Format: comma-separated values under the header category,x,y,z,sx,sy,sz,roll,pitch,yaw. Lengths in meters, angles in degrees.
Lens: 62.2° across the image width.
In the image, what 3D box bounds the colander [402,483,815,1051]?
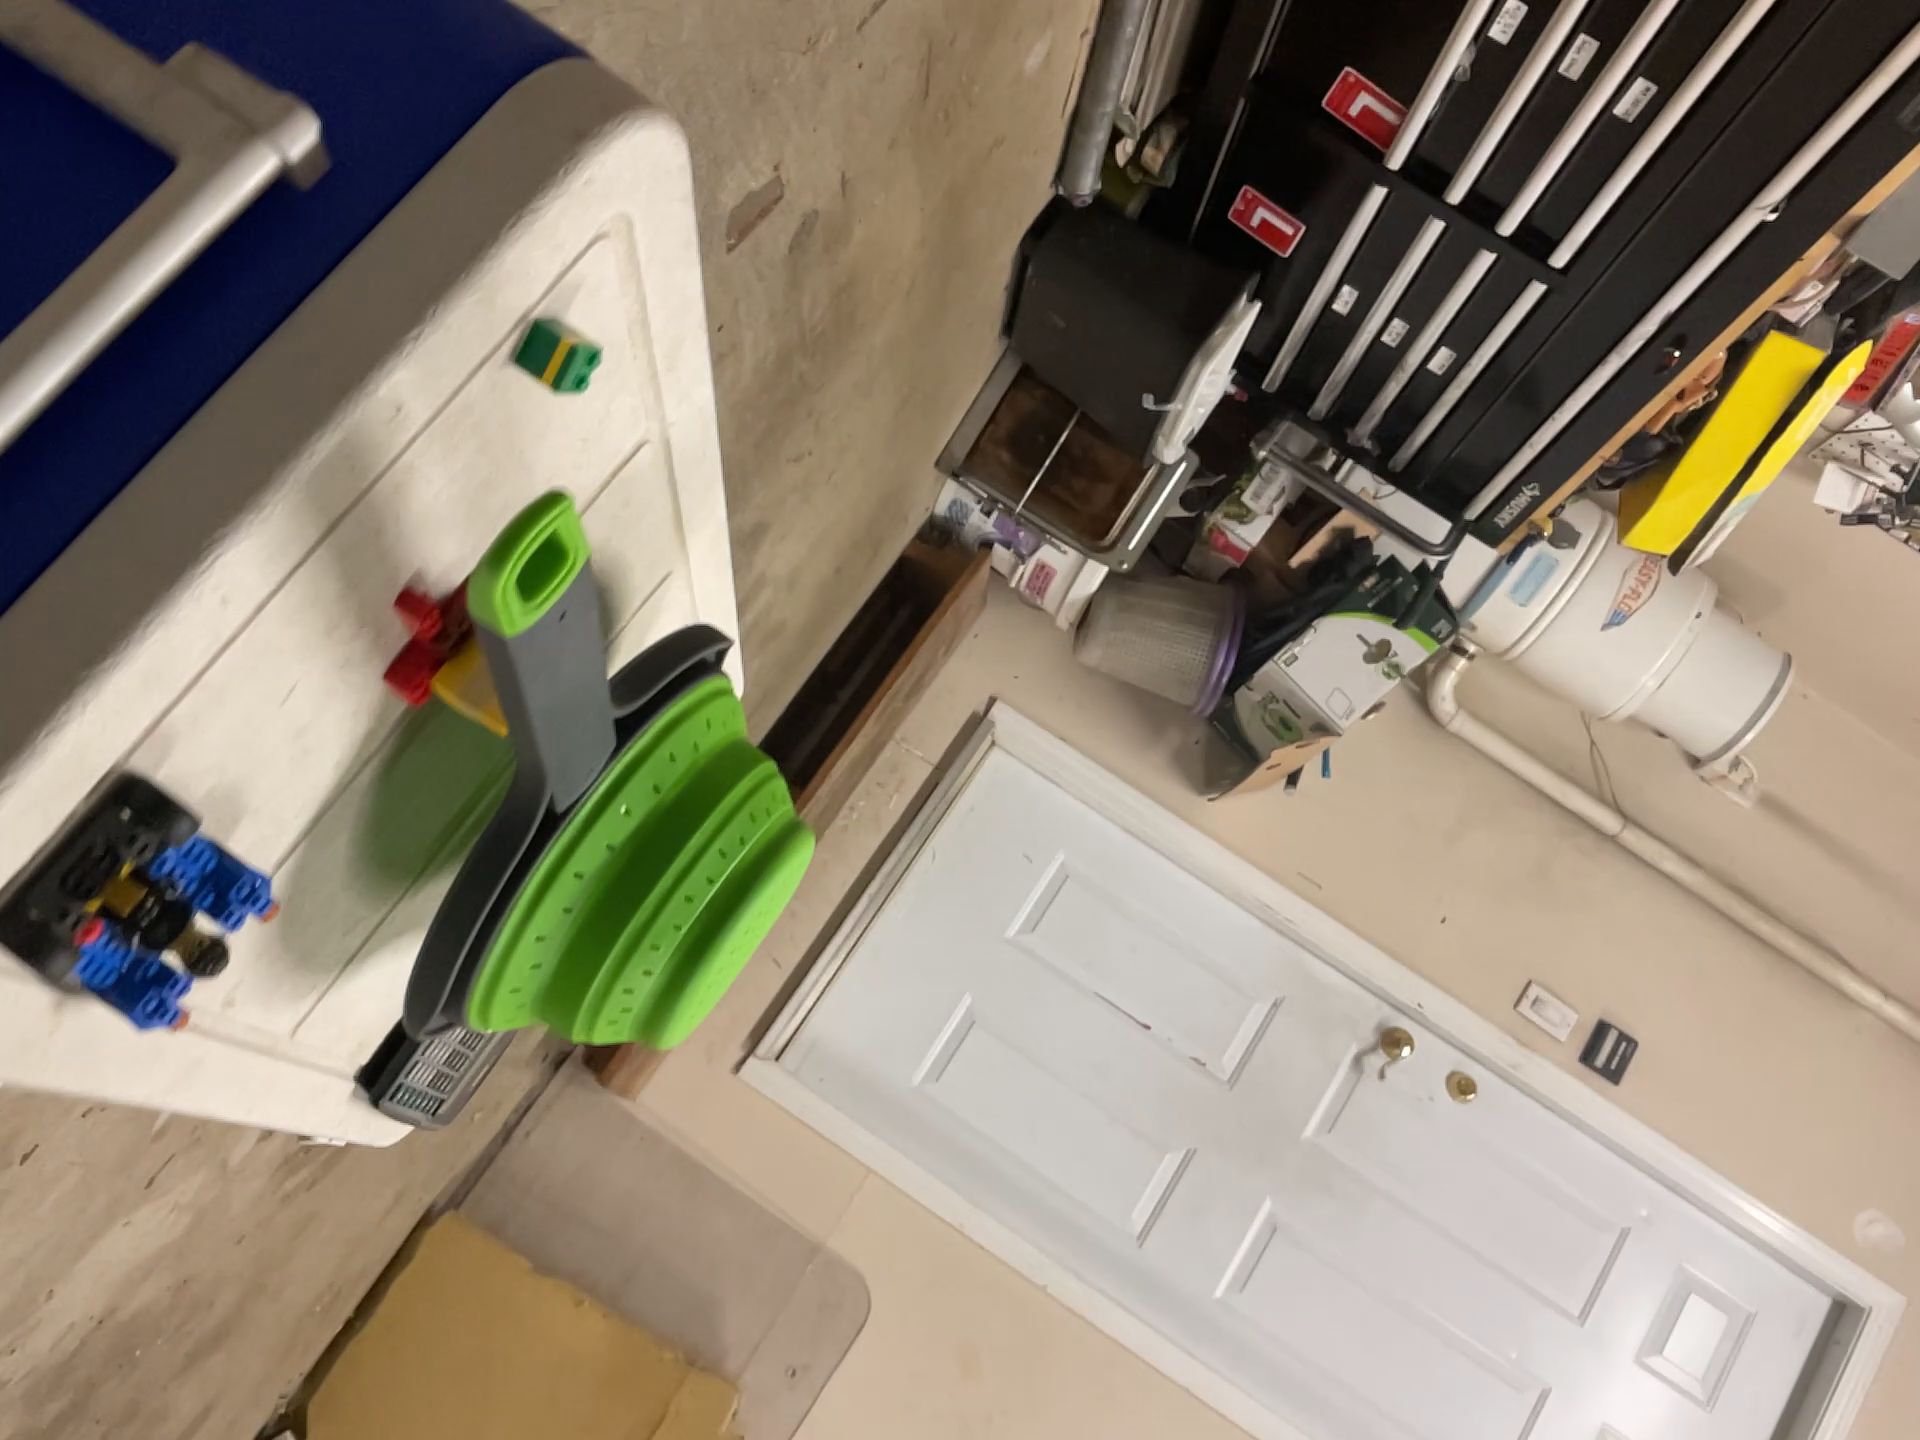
category,x,y,z,sx,sy,sz,roll,pitch,yaw
colander,-0.113,0.038,0.582,0.205,0.094,0.396,-55,176,-22
